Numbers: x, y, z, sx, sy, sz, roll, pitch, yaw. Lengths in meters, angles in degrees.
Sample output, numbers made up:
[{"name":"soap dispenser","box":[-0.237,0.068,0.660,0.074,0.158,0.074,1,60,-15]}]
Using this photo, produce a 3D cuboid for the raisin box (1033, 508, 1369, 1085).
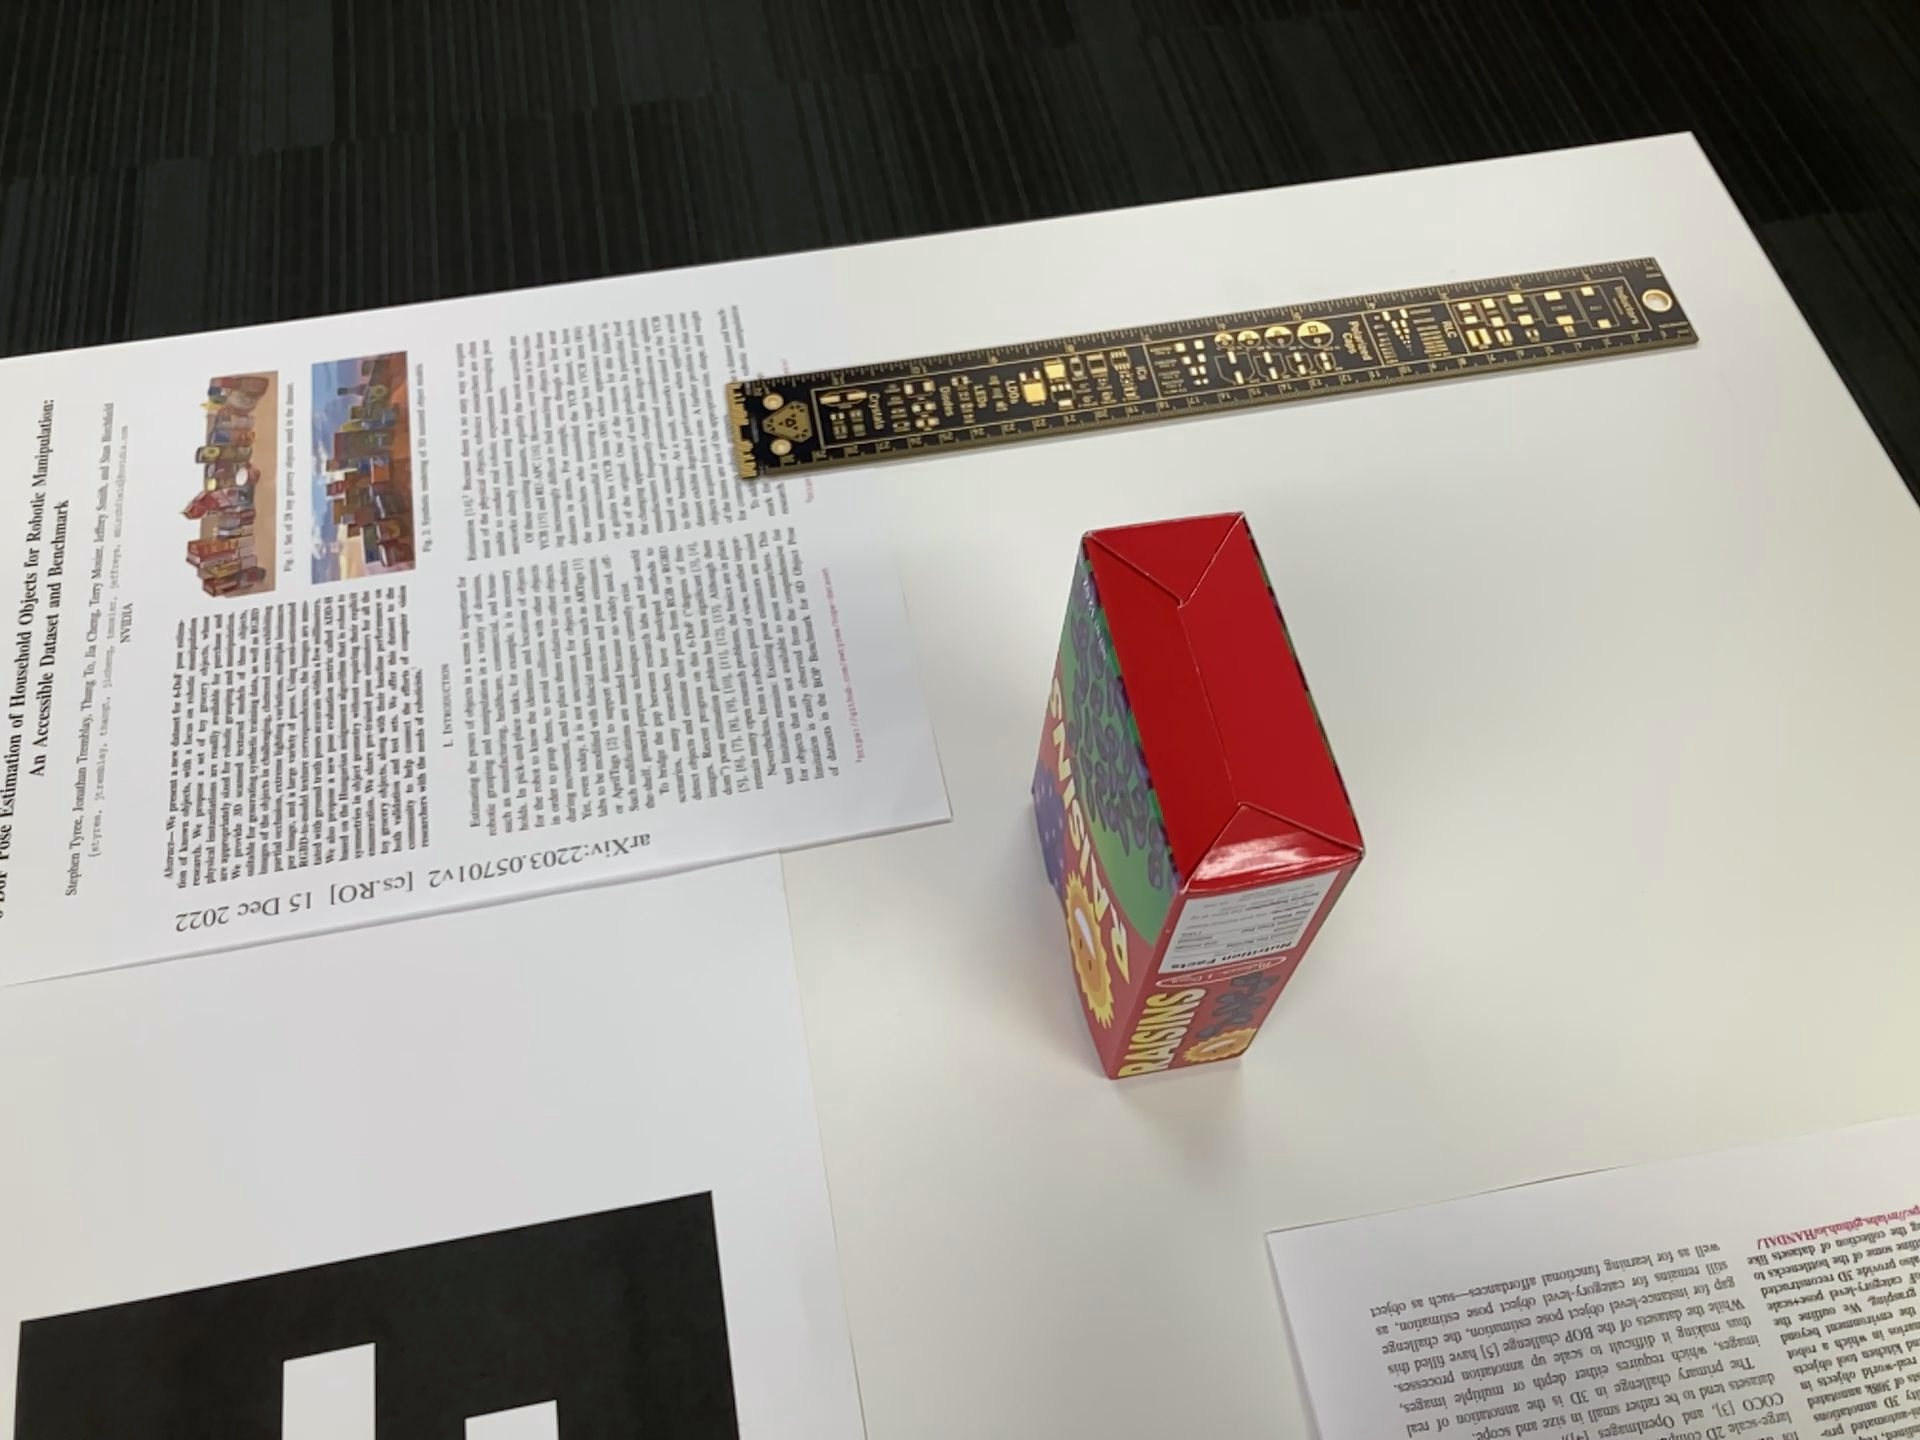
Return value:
[{"name":"raisin box","box":[0.048,0.023,0.368,0.040,0.123,0.086,-9,61,-8]}]
